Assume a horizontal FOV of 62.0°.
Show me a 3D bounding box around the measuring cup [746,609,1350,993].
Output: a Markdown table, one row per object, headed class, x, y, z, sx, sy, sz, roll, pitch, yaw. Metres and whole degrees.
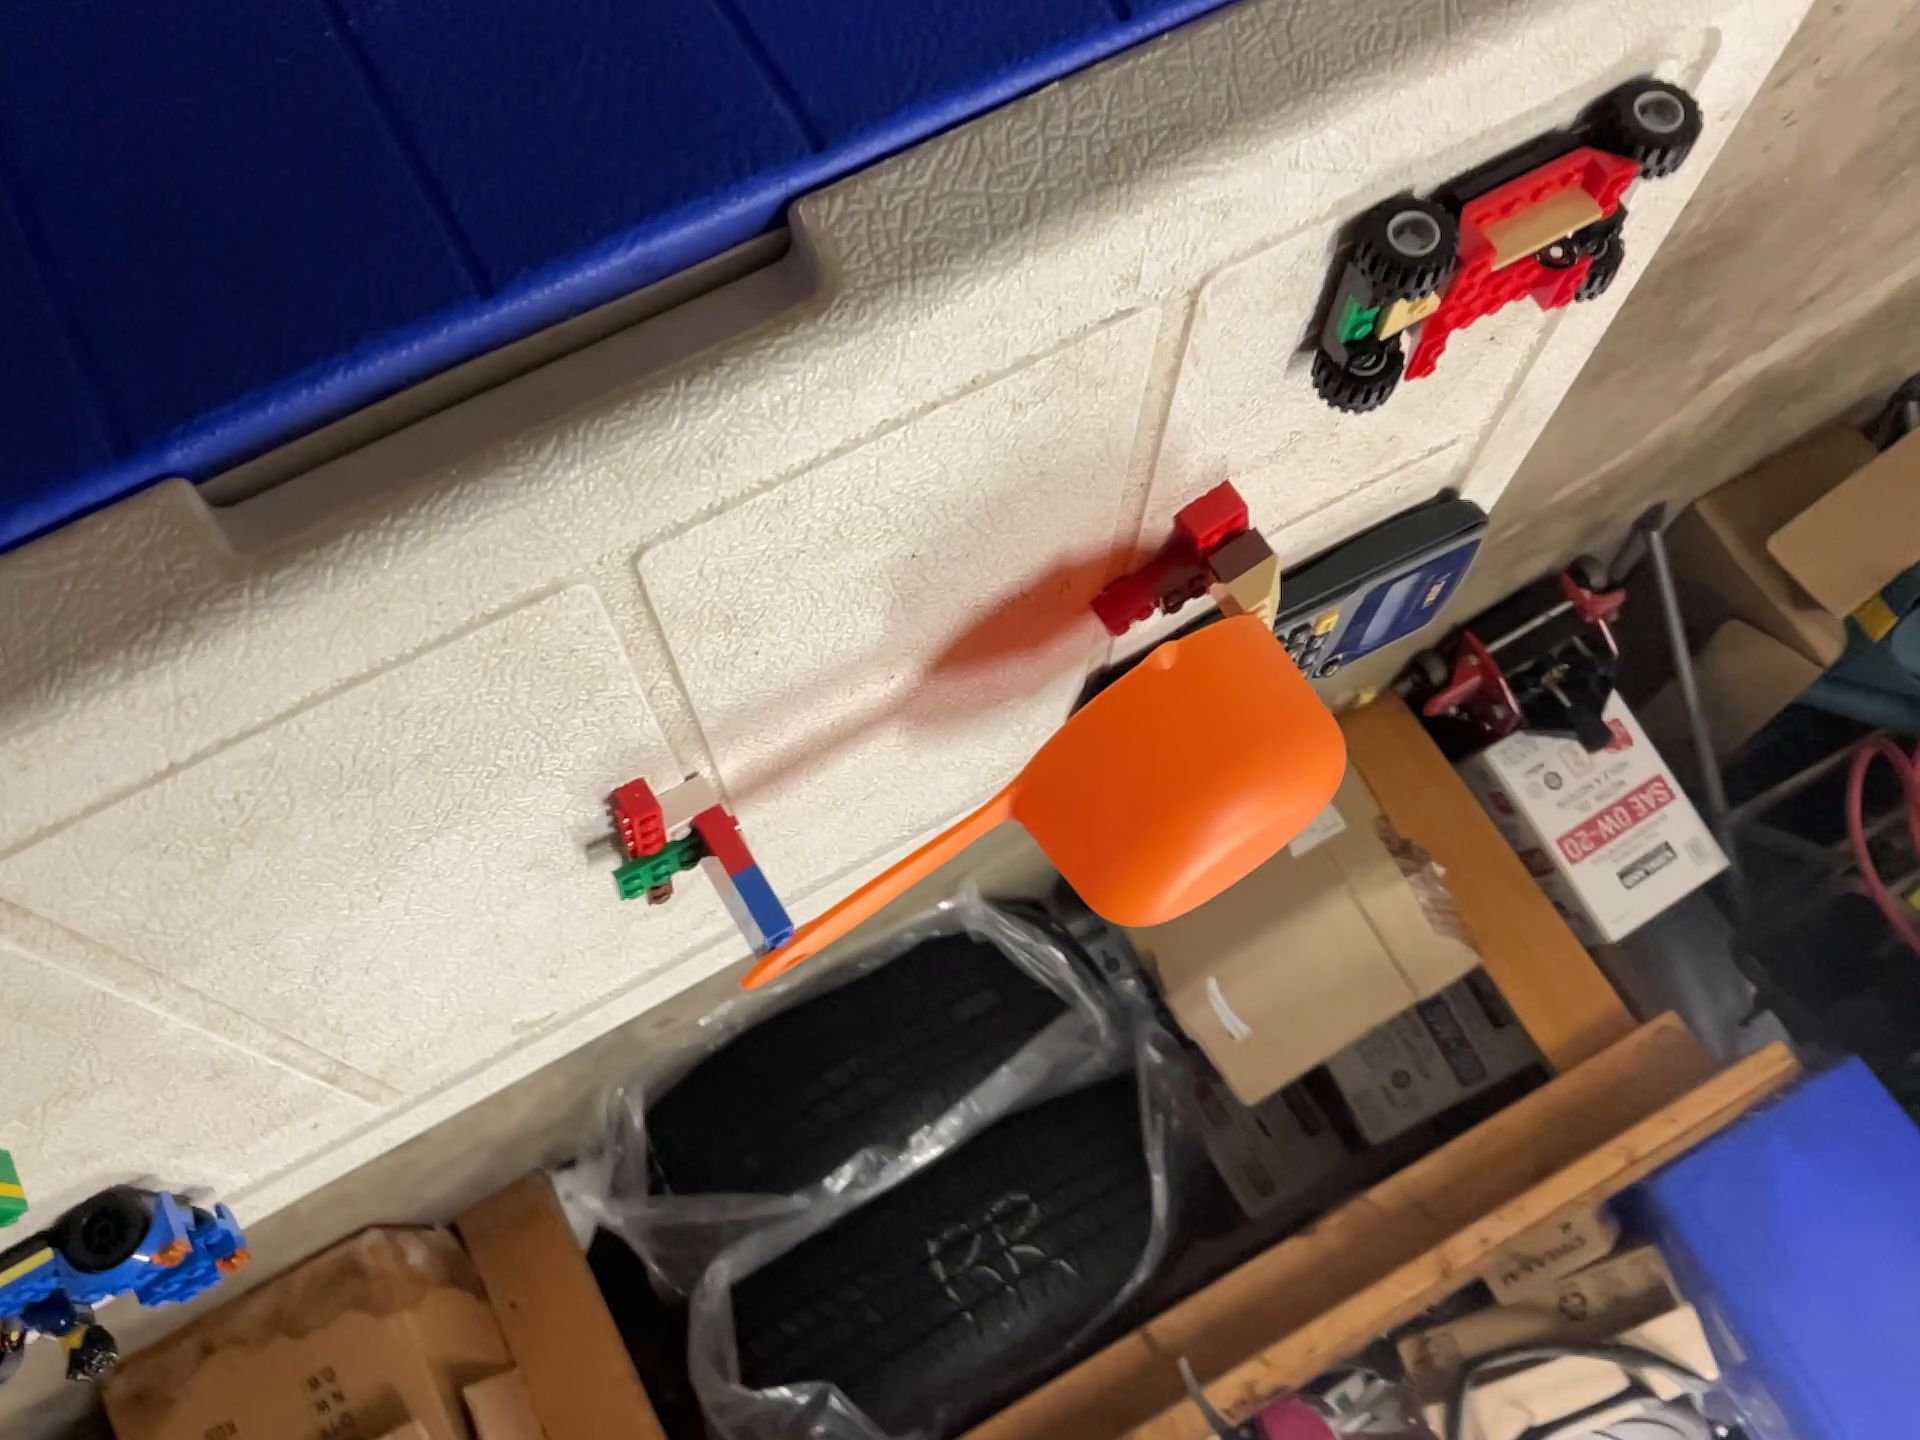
| class | x | y | z | sx | sy | sz | roll | pitch | yaw |
| --- | --- | --- | --- | --- | --- | --- | --- | --- | --- |
| measuring cup | 0.029 | 0.039 | 0.425 | 0.173 | 0.052 | 0.095 | -33 | 162 | -15 |
